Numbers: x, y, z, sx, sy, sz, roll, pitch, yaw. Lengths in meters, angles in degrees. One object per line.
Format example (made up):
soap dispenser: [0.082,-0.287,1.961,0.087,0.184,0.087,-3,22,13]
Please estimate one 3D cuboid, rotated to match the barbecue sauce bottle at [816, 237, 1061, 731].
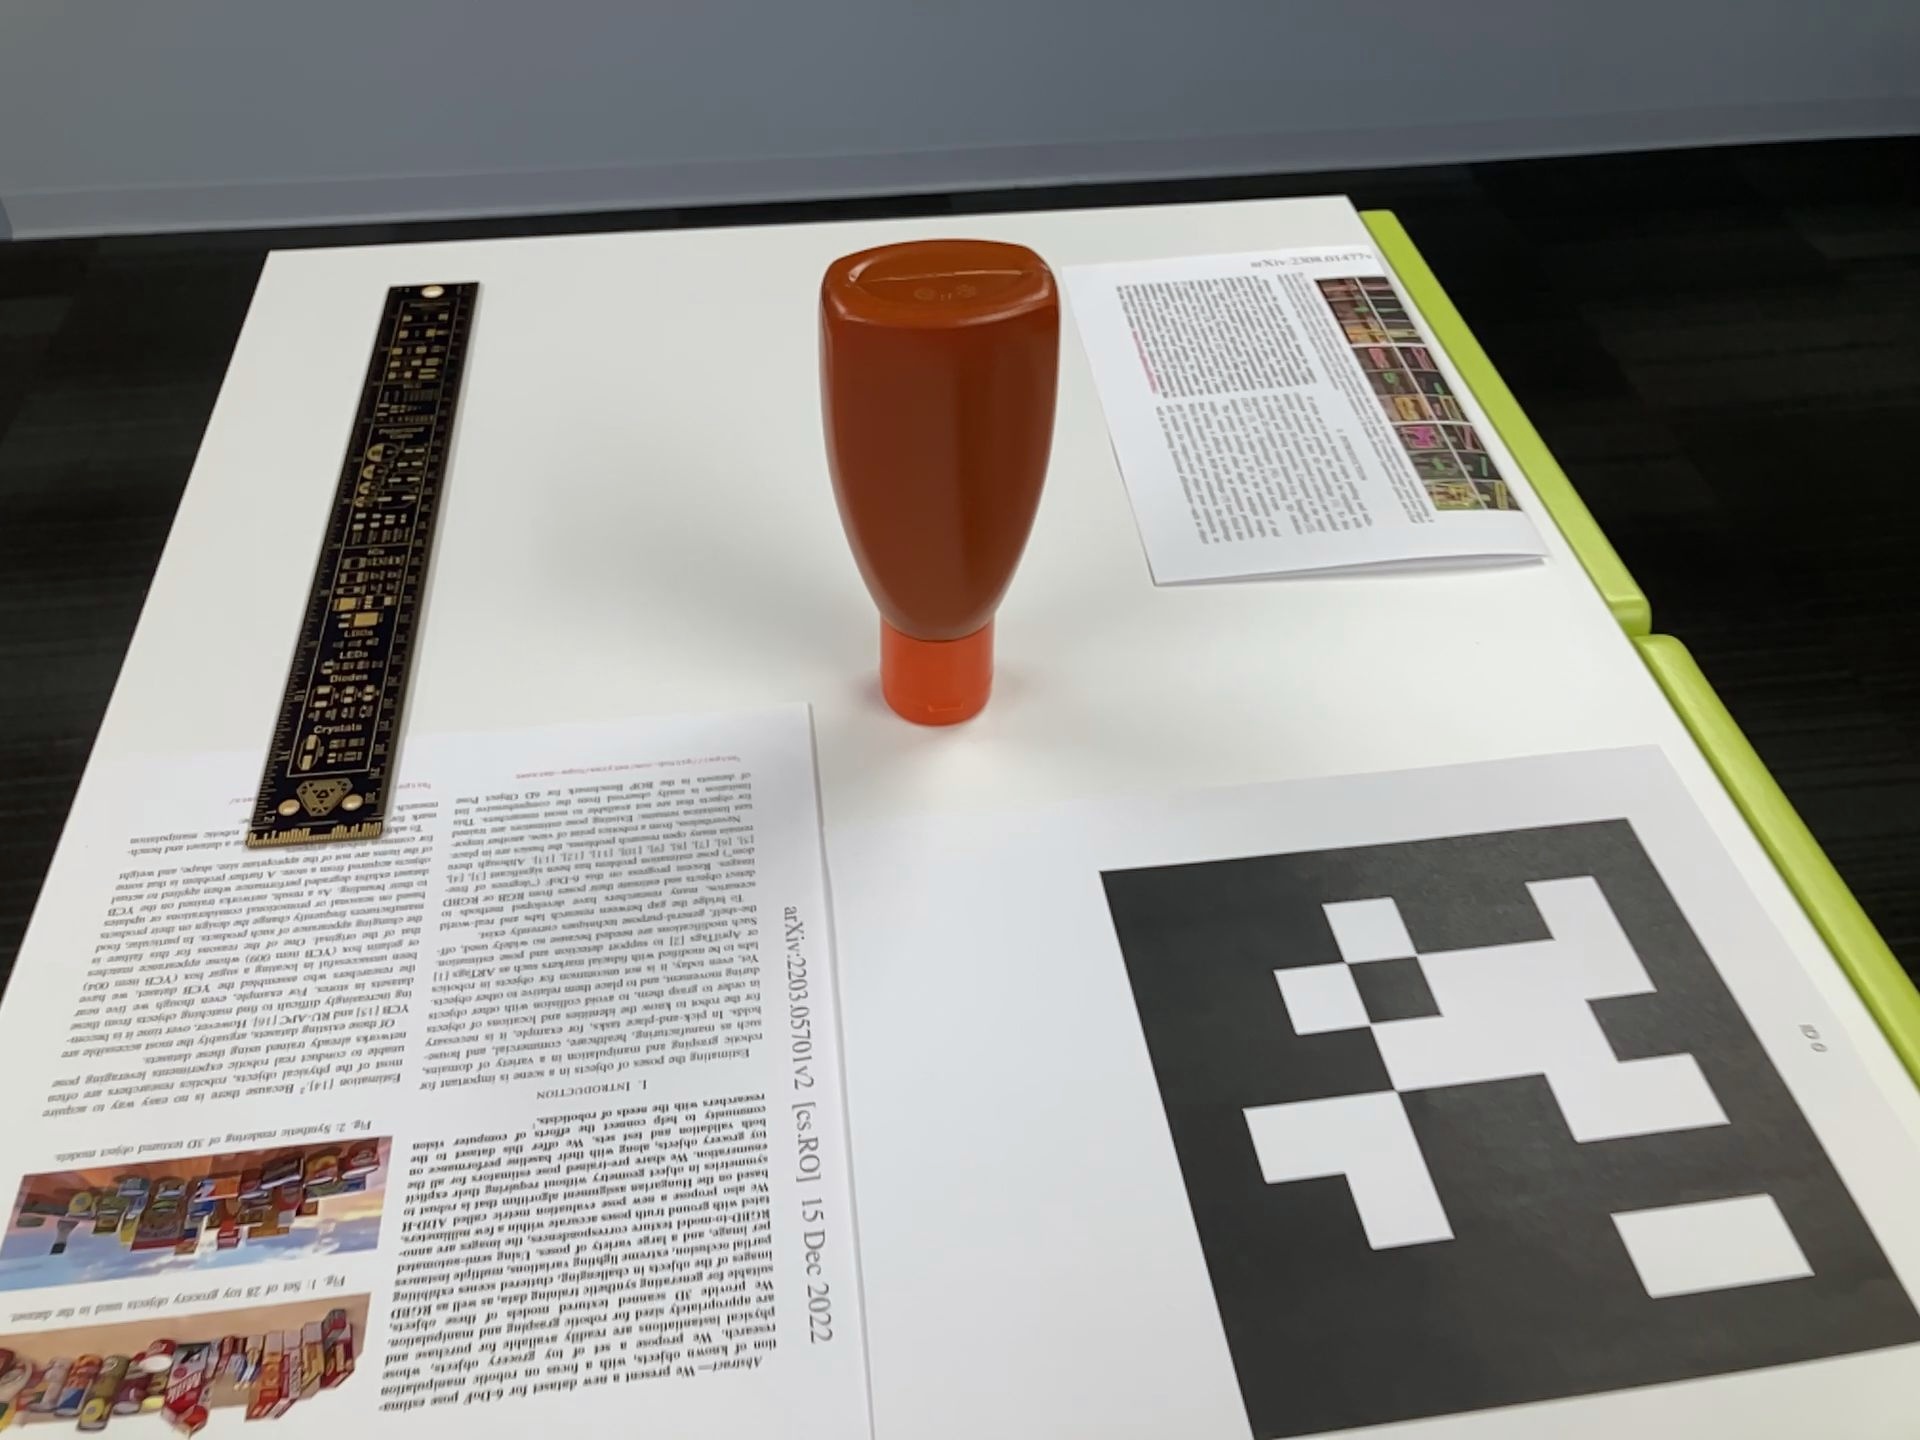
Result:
barbecue sauce bottle: [-0.006,-0.061,0.457,0.065,0.148,0.043,-6,44,-7]
